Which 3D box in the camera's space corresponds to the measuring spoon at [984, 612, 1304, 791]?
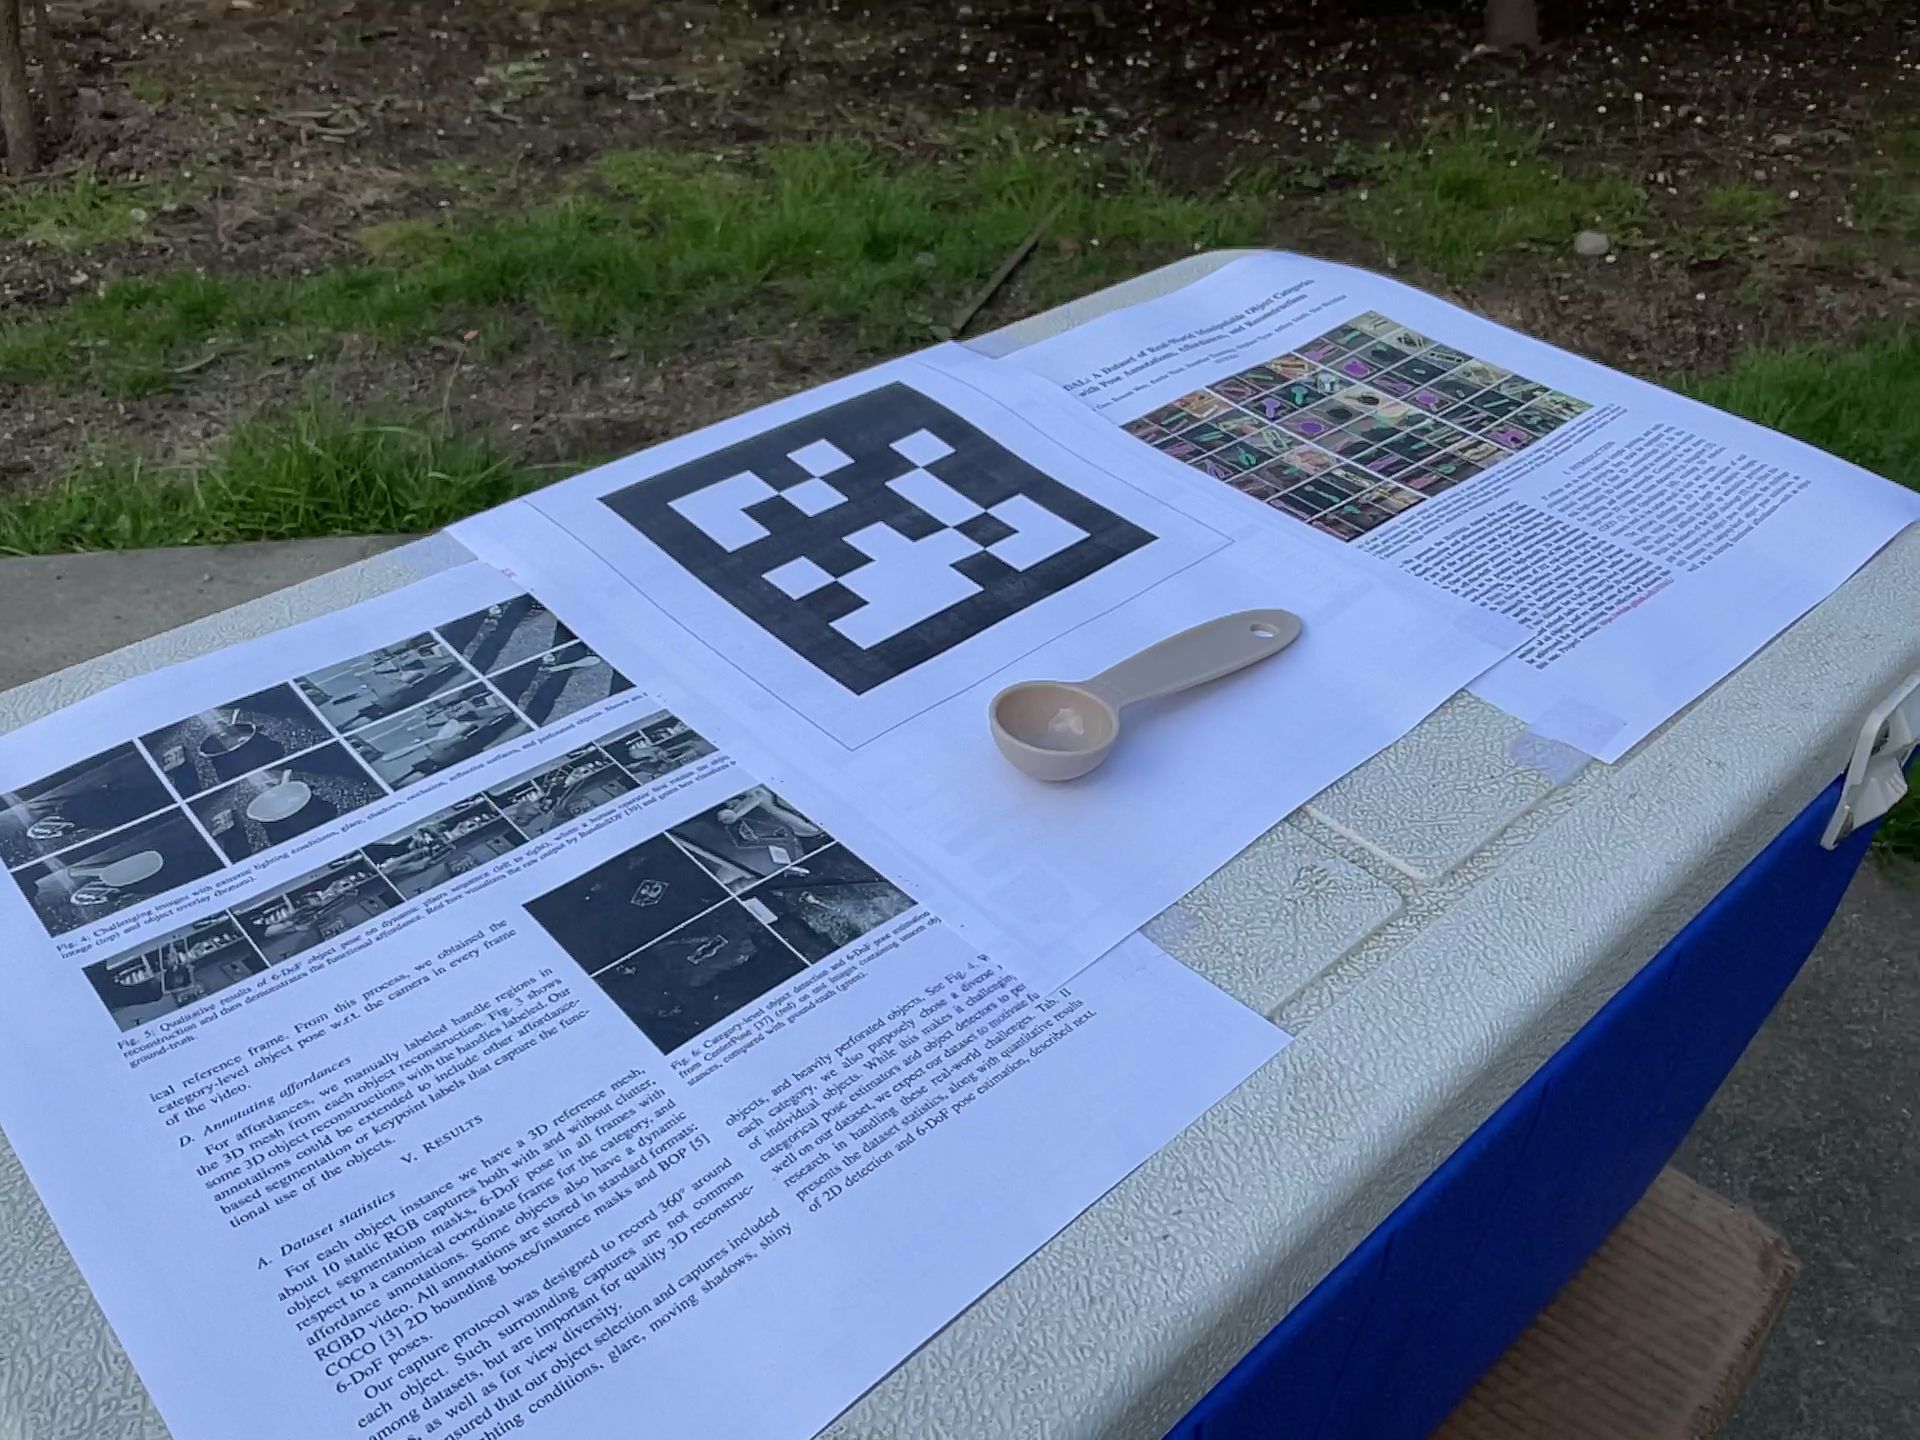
[{"bbox_3d":[0.054,-0.006,0.438,0.124,0.018,0.034,-23,43,-39],"label":"measuring spoon"}]
